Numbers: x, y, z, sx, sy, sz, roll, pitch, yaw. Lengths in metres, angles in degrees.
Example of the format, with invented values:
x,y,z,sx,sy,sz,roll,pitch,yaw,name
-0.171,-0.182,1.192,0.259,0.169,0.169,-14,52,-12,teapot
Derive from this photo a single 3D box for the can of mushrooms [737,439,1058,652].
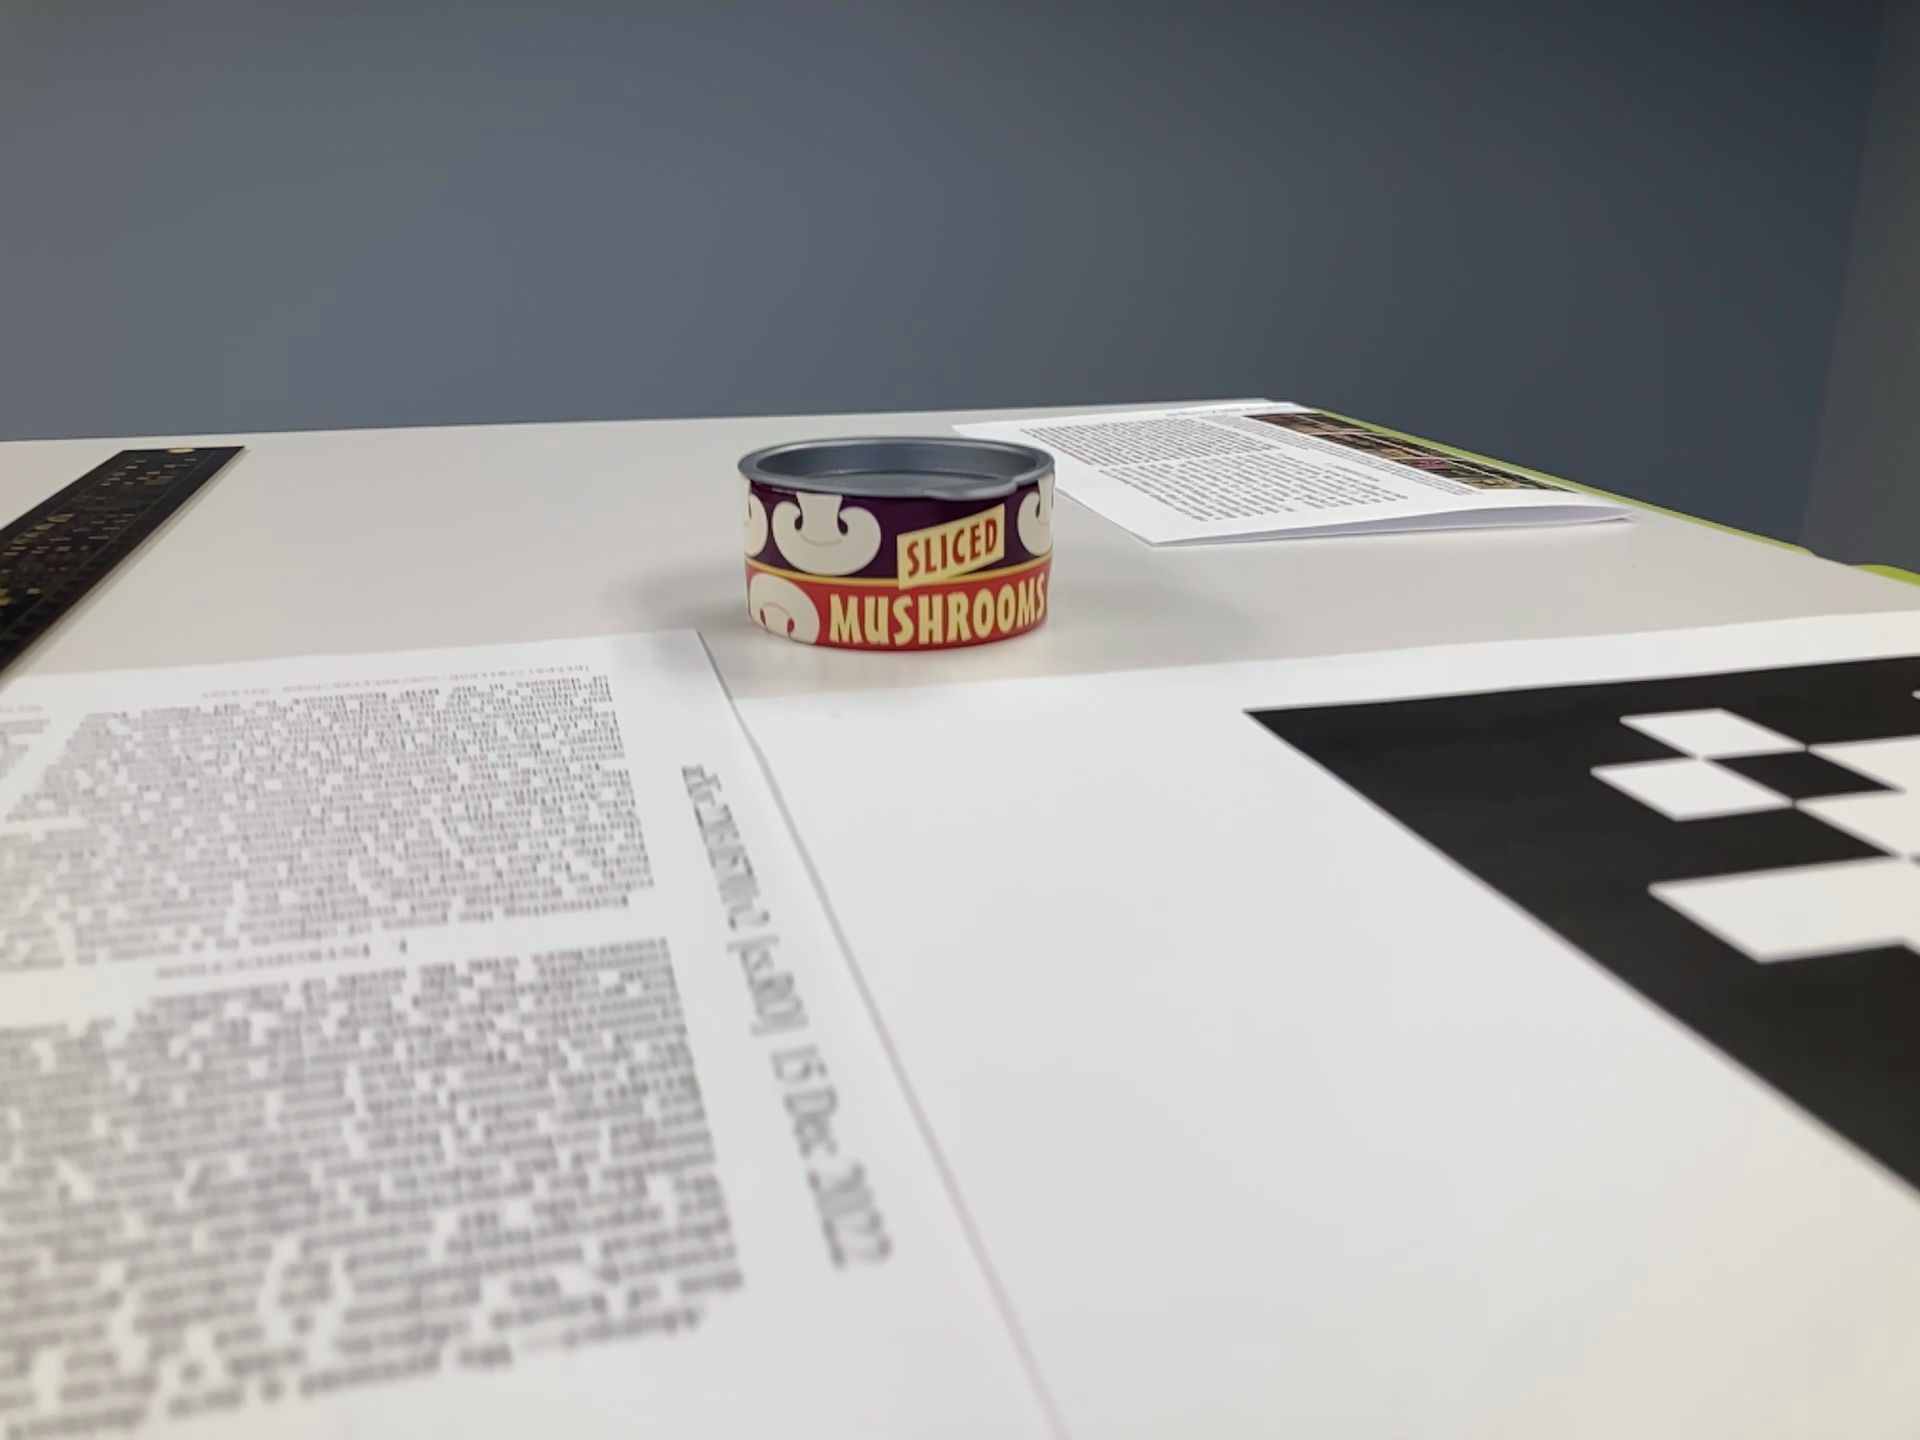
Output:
x,y,z,sx,sy,sz,roll,pitch,yaw,name
-0.012,-0.038,0.330,0.071,0.033,0.071,1,18,0,can of mushrooms
